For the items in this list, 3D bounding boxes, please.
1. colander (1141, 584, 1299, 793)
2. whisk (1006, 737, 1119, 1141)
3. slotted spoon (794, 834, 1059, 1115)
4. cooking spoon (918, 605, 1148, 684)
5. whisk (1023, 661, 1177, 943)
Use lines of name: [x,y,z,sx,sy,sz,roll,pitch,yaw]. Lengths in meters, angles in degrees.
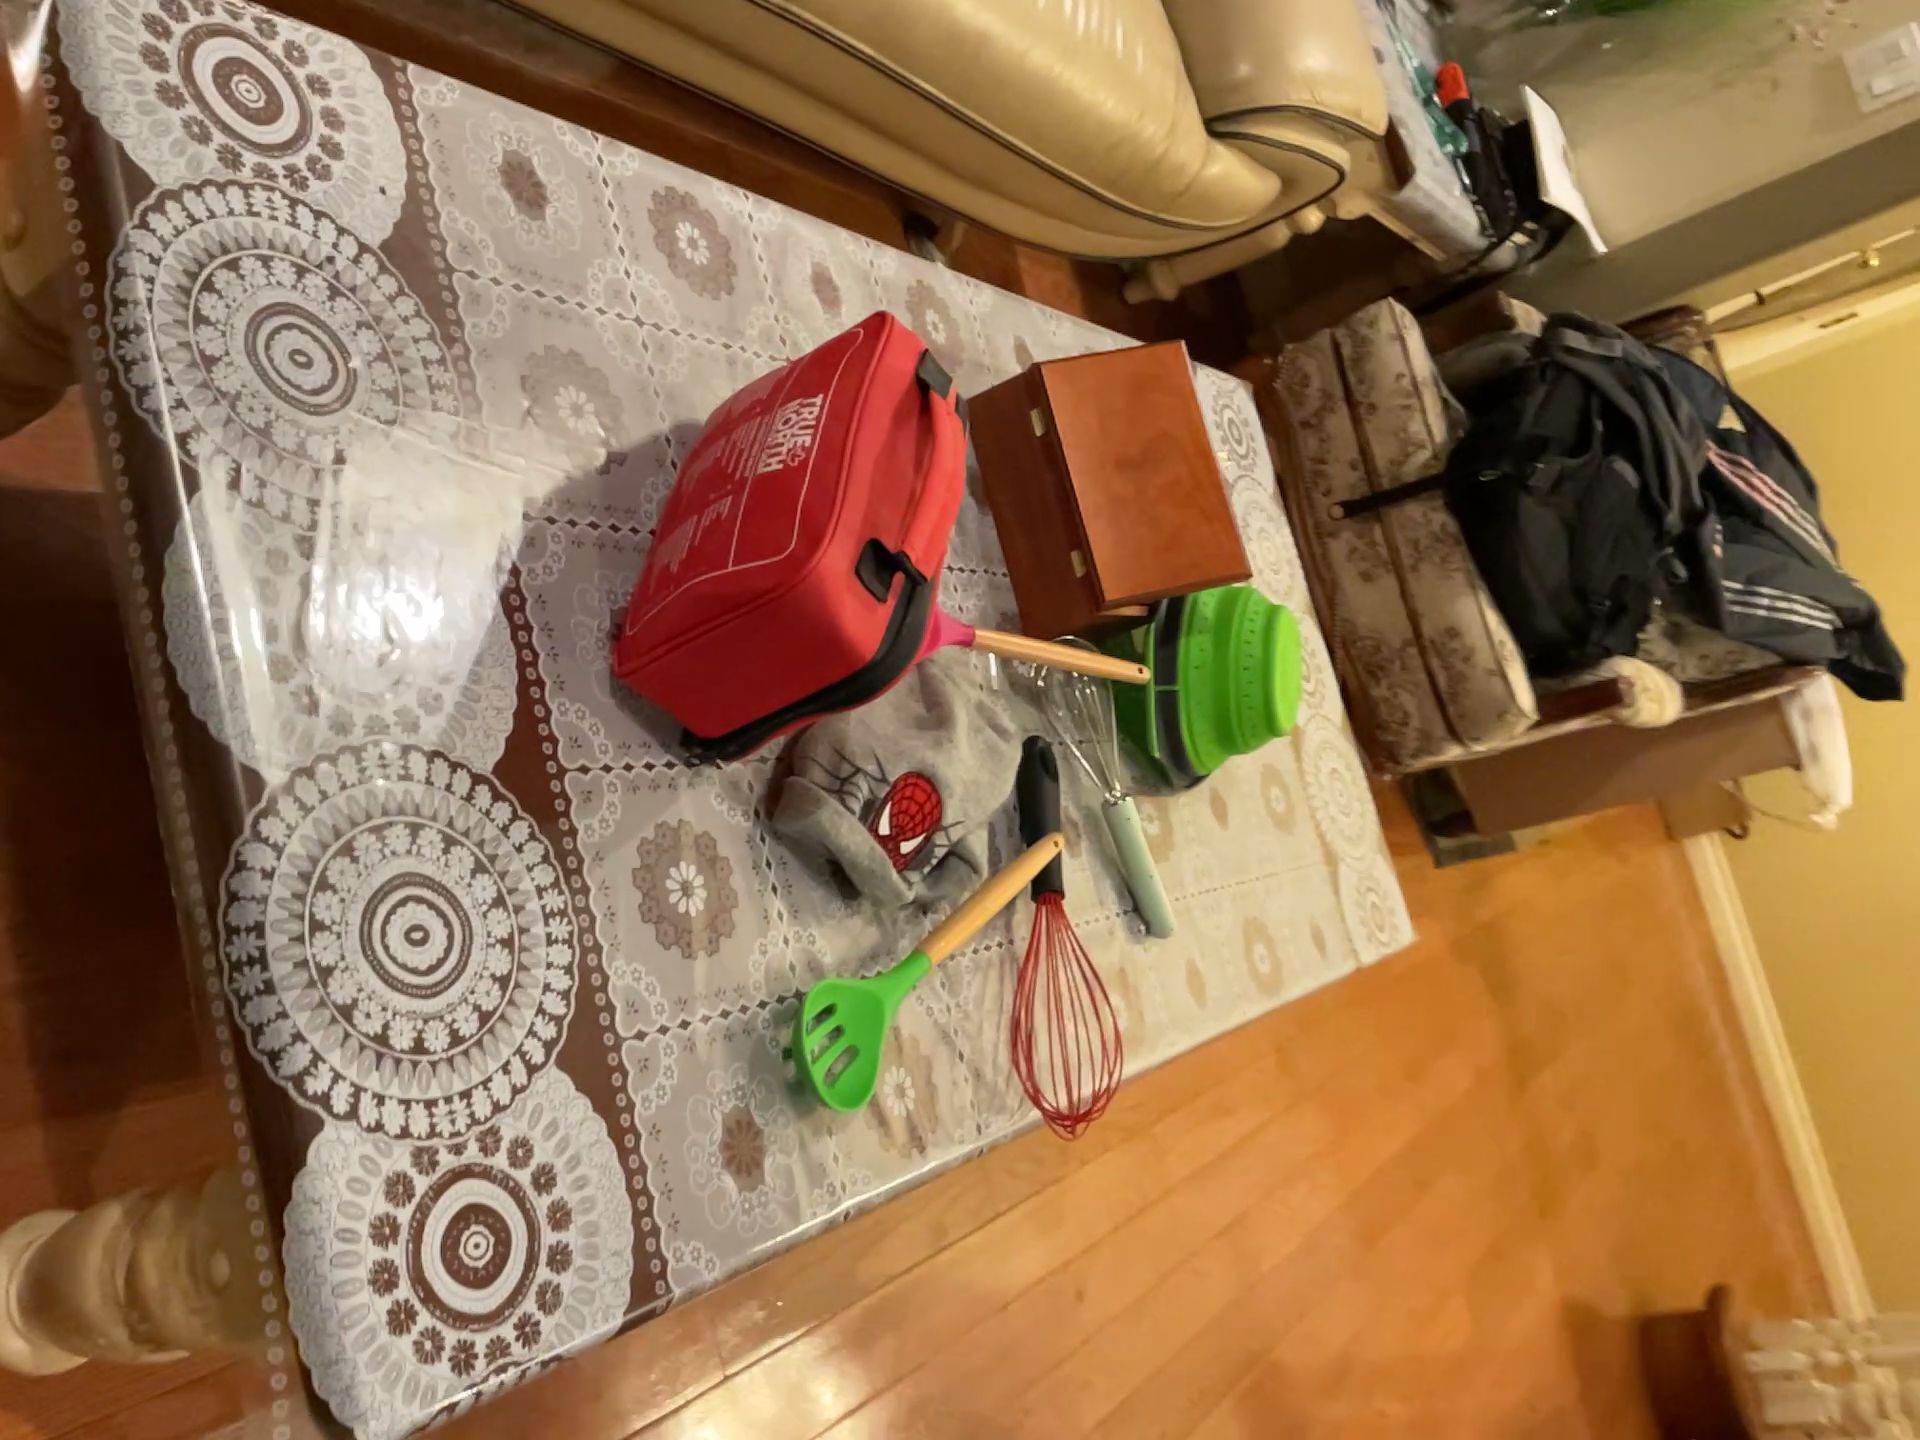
colander: [0.255,-0.055,1.382,0.397,0.094,0.204,-24,114,-65]
whisk: [0.061,0.135,1.057,0.073,0.073,0.296,30,43,-38]
slotted spoon: [-0.011,0.136,0.949,0.314,0.031,0.070,-36,103,-55]
cooking spoon: [0.022,-0.053,1.083,0.318,0.017,0.069,9,66,-43]
whisk: [0.109,0.057,1.193,0.058,0.059,0.246,-26,100,-17]
